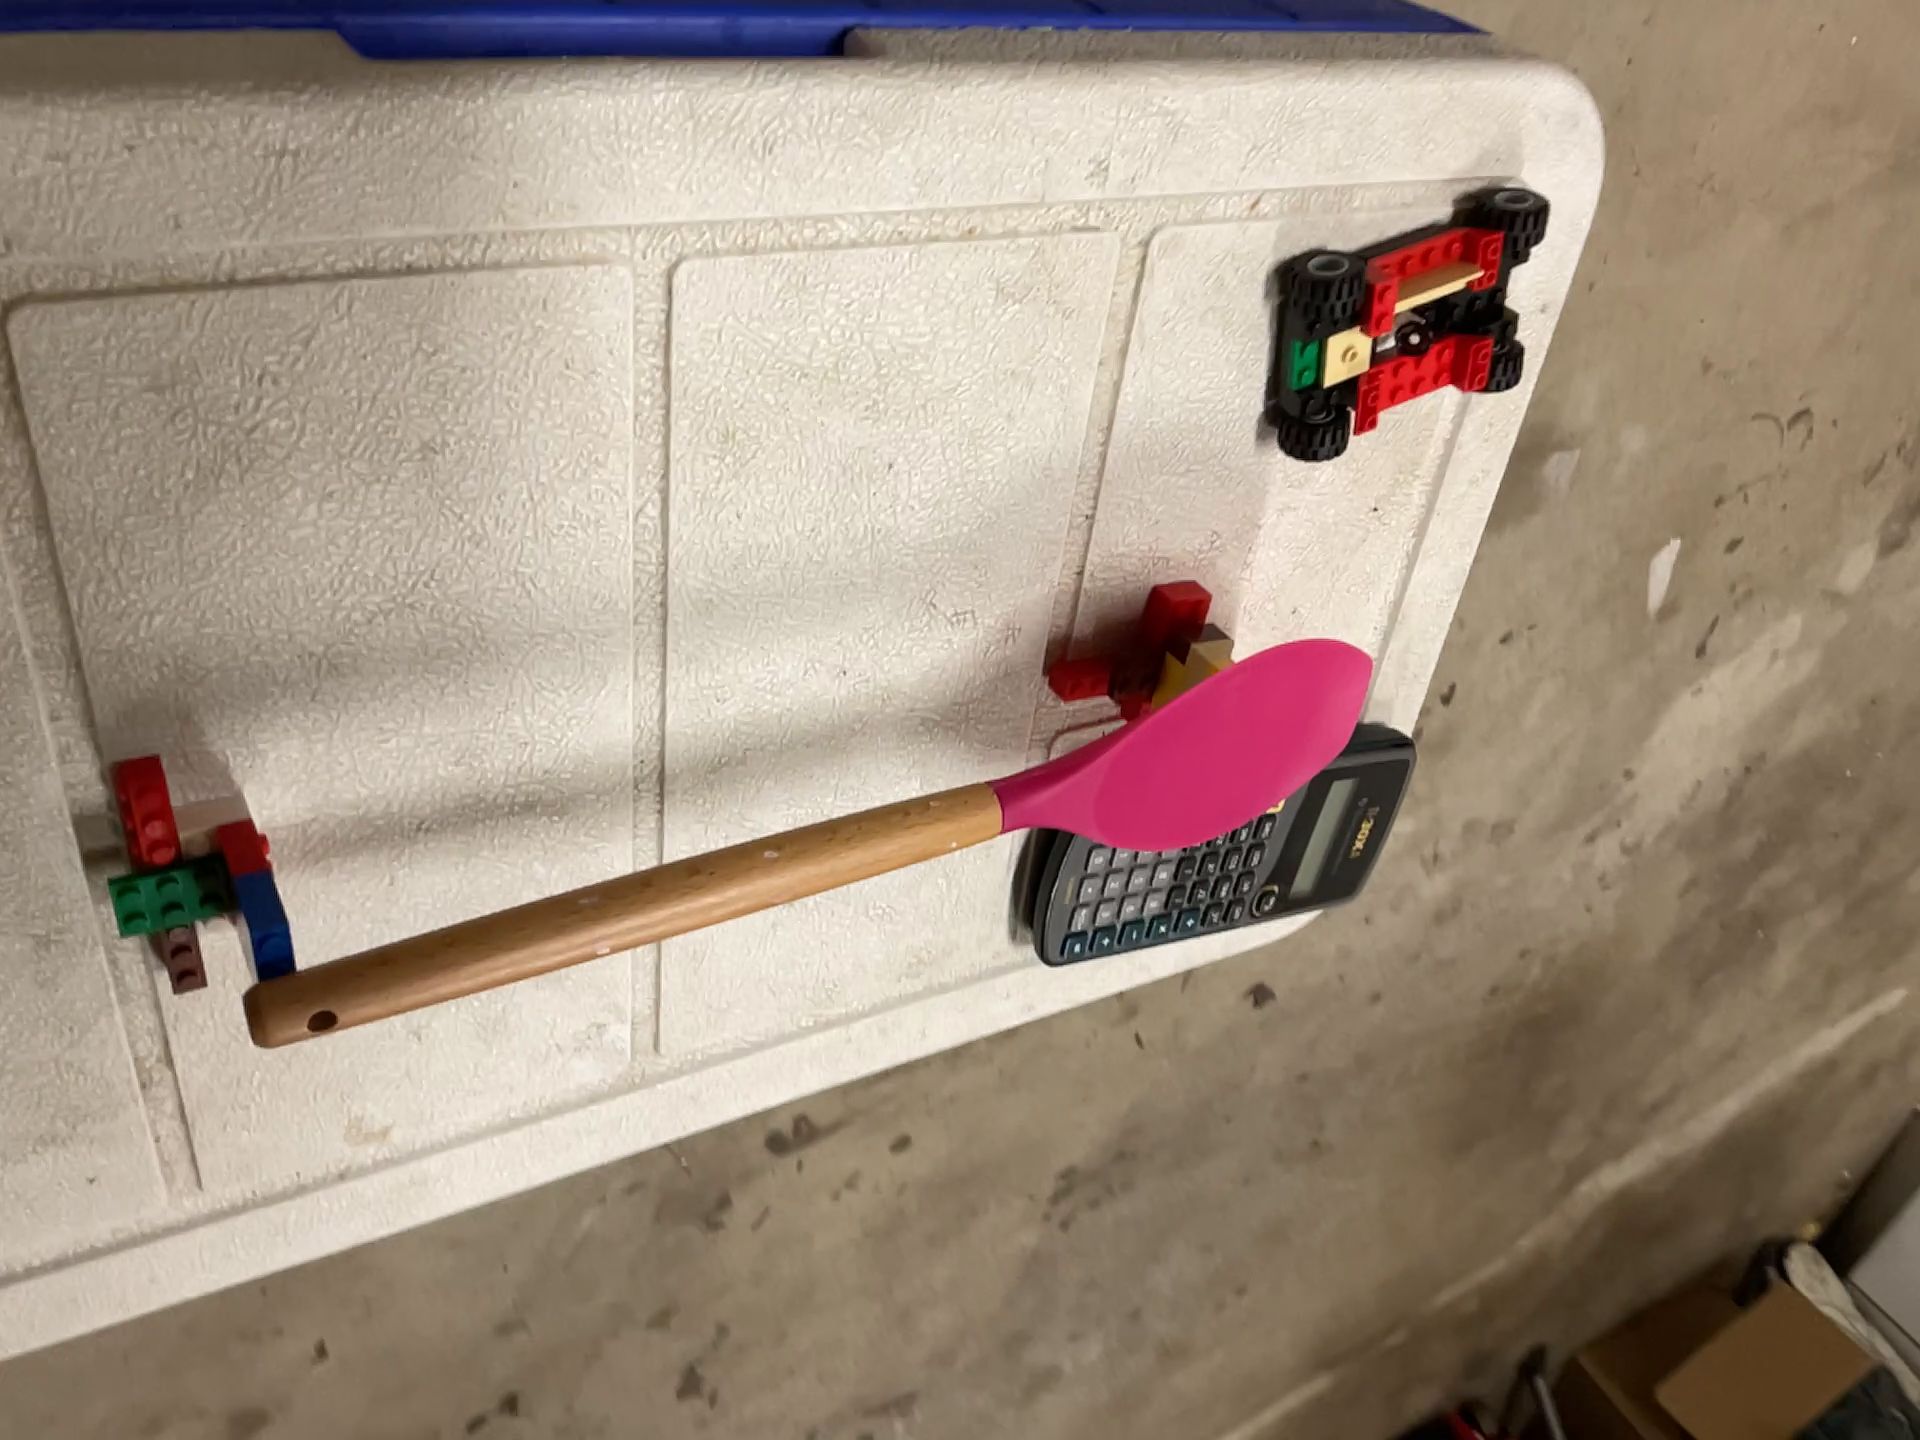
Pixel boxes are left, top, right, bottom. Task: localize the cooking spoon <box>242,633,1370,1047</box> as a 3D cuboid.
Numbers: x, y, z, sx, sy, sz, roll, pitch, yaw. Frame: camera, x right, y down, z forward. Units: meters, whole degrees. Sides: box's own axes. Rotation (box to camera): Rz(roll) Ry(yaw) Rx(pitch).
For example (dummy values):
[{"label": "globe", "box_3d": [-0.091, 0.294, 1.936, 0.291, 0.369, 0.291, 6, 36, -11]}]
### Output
[{"label": "cooking spoon", "box_3d": [-0.015, 0.028, 0.413, 0.319, 0.017, 0.068, -14, 131, -28]}]
